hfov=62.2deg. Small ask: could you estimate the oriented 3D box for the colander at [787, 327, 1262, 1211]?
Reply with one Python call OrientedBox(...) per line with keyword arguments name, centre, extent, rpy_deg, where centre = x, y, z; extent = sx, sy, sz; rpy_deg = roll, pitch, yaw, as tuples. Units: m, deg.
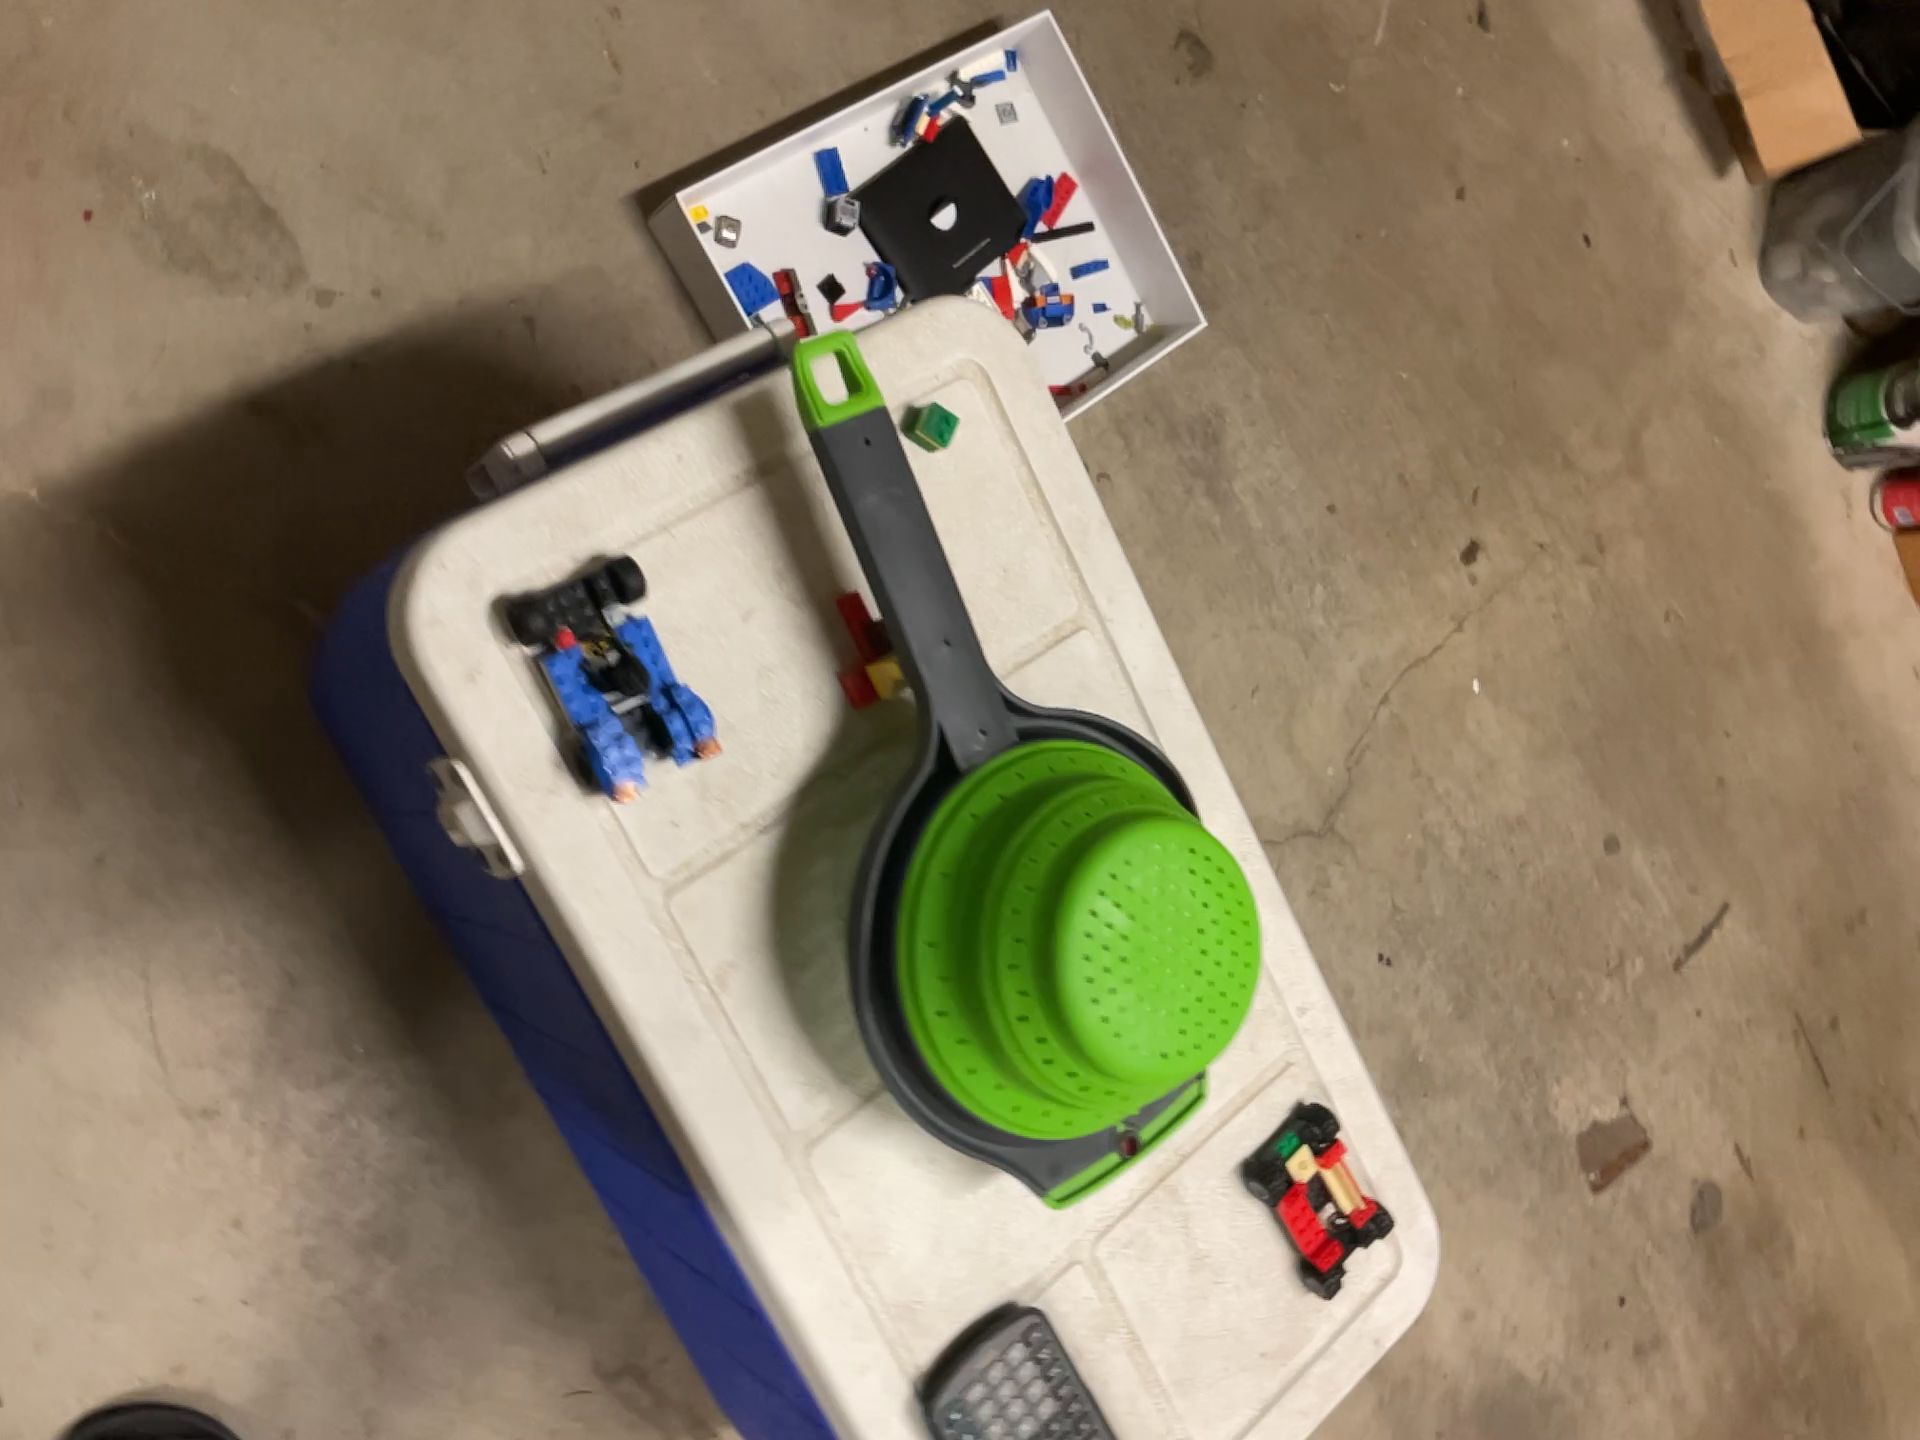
OrientedBox(name="colander", centre=(0.030, 0.020, 0.666), extent=(0.205, 0.094, 0.397), rpy_deg=(-28, 101, -30))
